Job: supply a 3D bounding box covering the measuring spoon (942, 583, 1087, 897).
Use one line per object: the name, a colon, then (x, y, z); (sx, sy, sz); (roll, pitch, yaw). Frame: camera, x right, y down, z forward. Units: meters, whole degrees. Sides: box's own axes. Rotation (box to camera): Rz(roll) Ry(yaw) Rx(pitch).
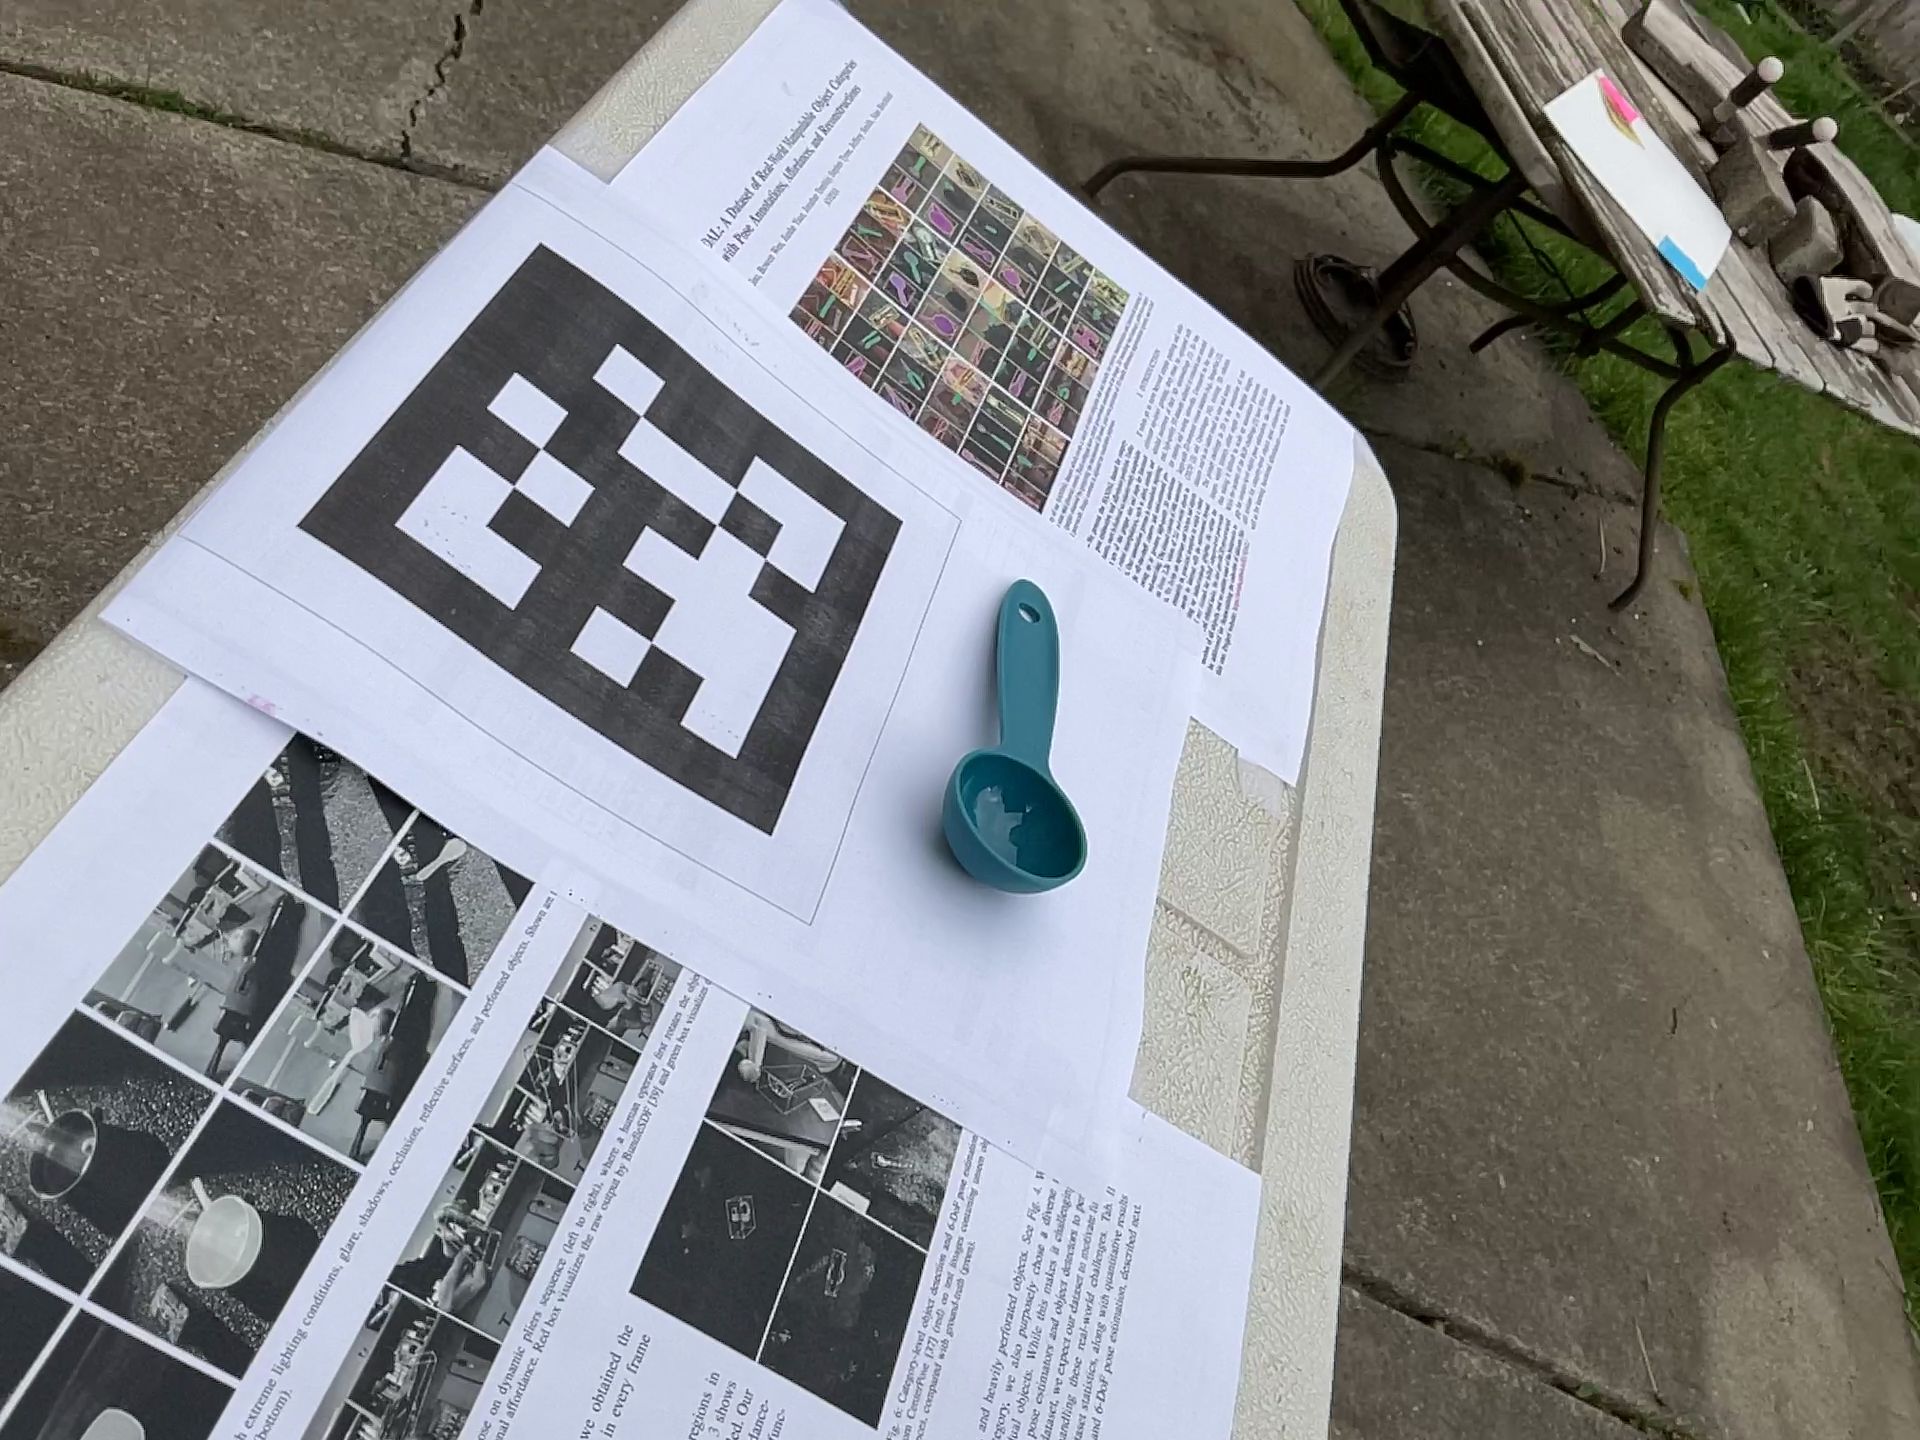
measuring spoon: (0.014, 0.004, 0.453); (0.042, 0.021, 0.129); (31, 35, -18)
